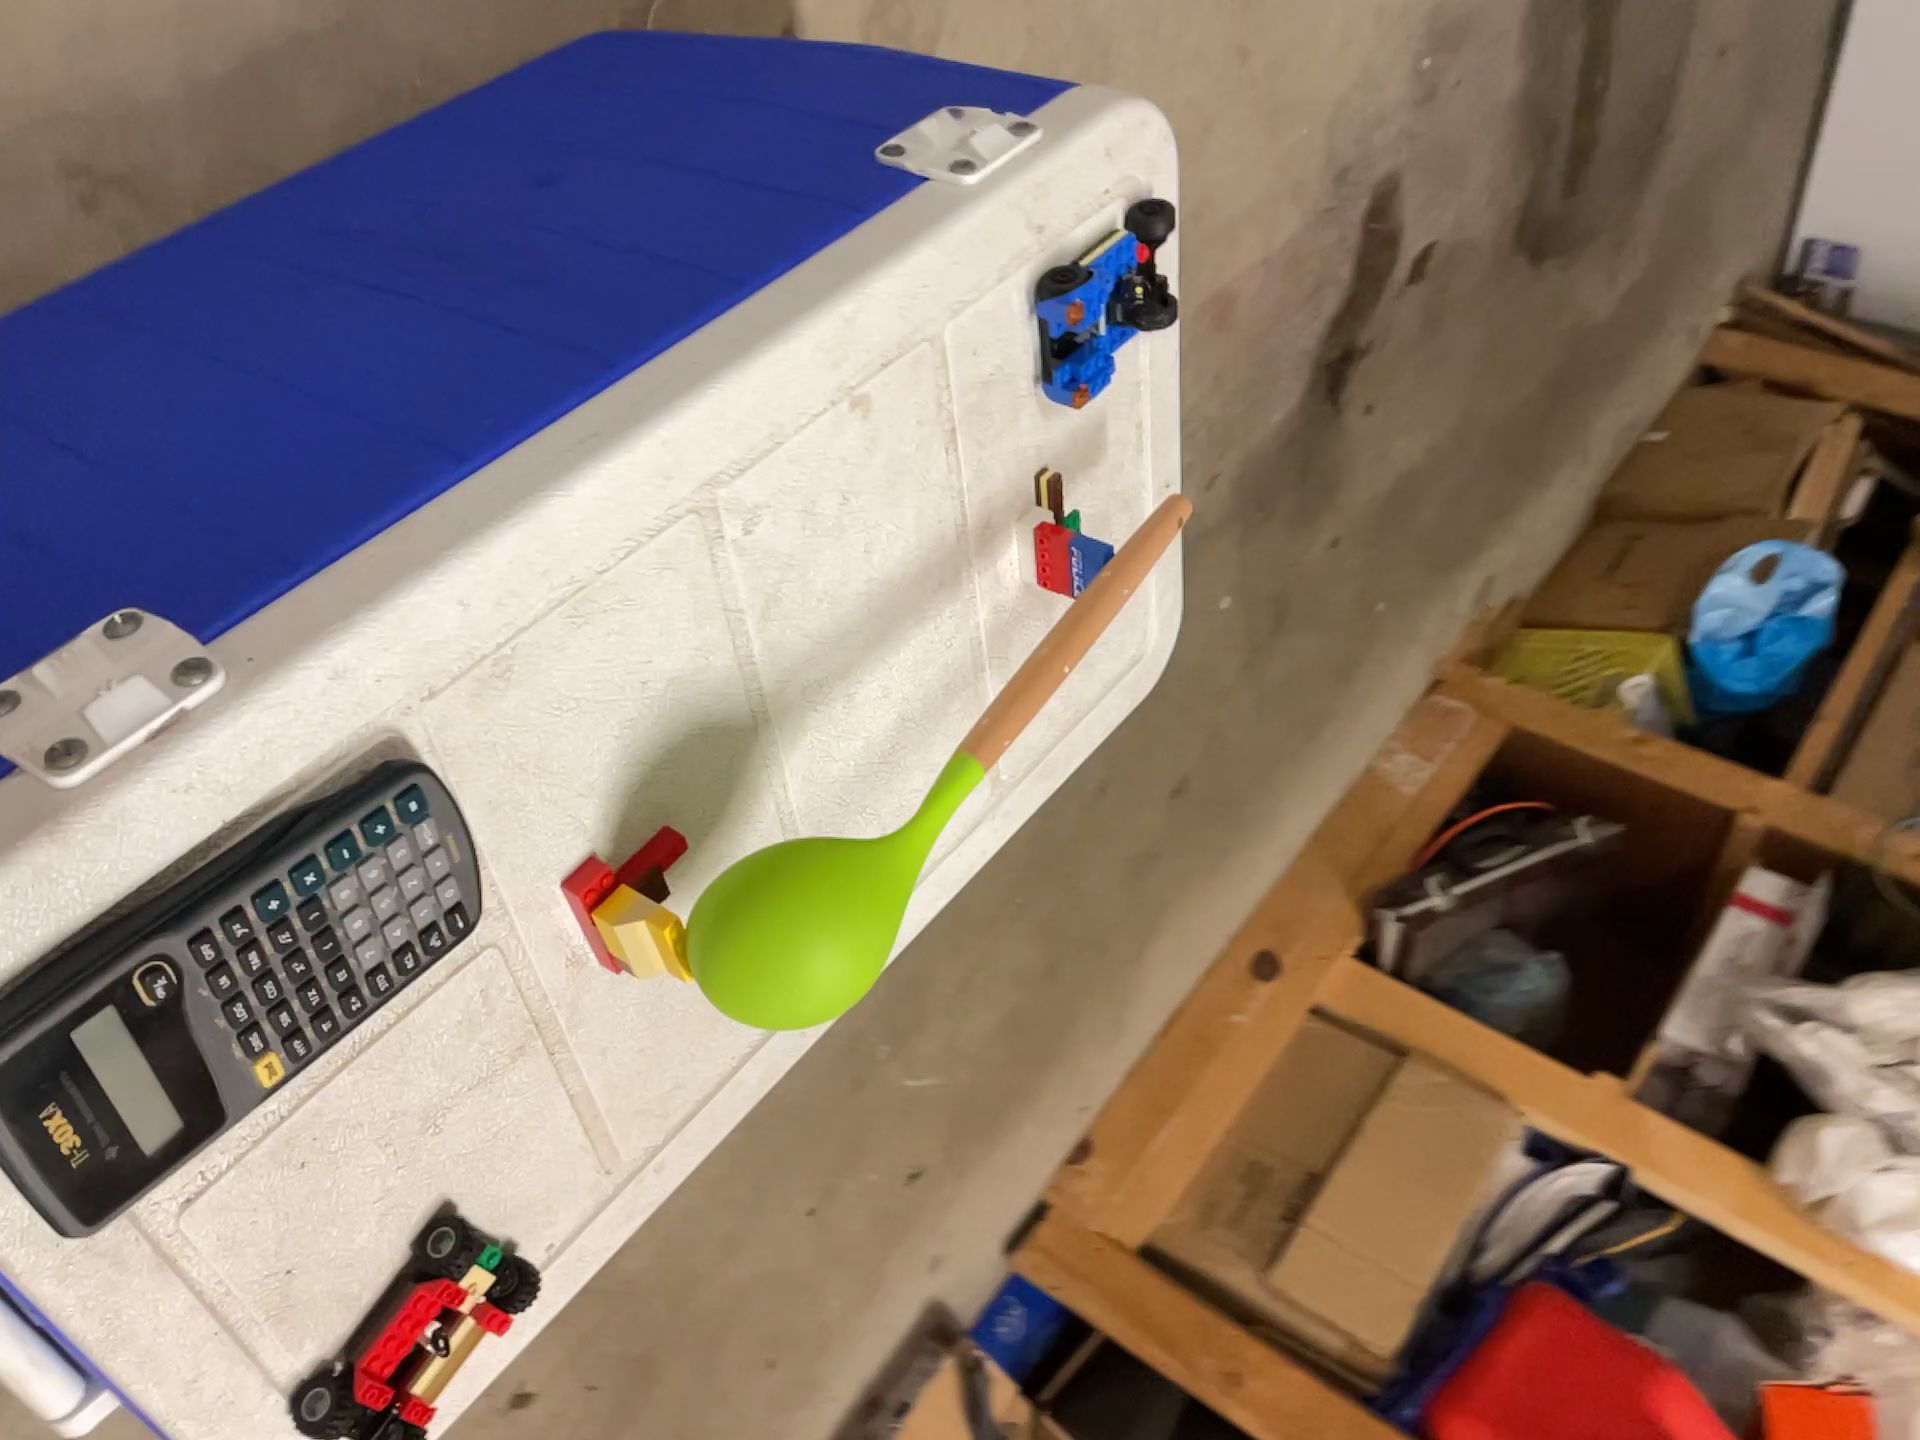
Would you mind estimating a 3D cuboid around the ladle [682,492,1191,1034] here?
[{"bbox_3d":[0.006,-0.001,0.641,0.320,0.062,0.078,-50,141,-35],"label":"ladle"}]
